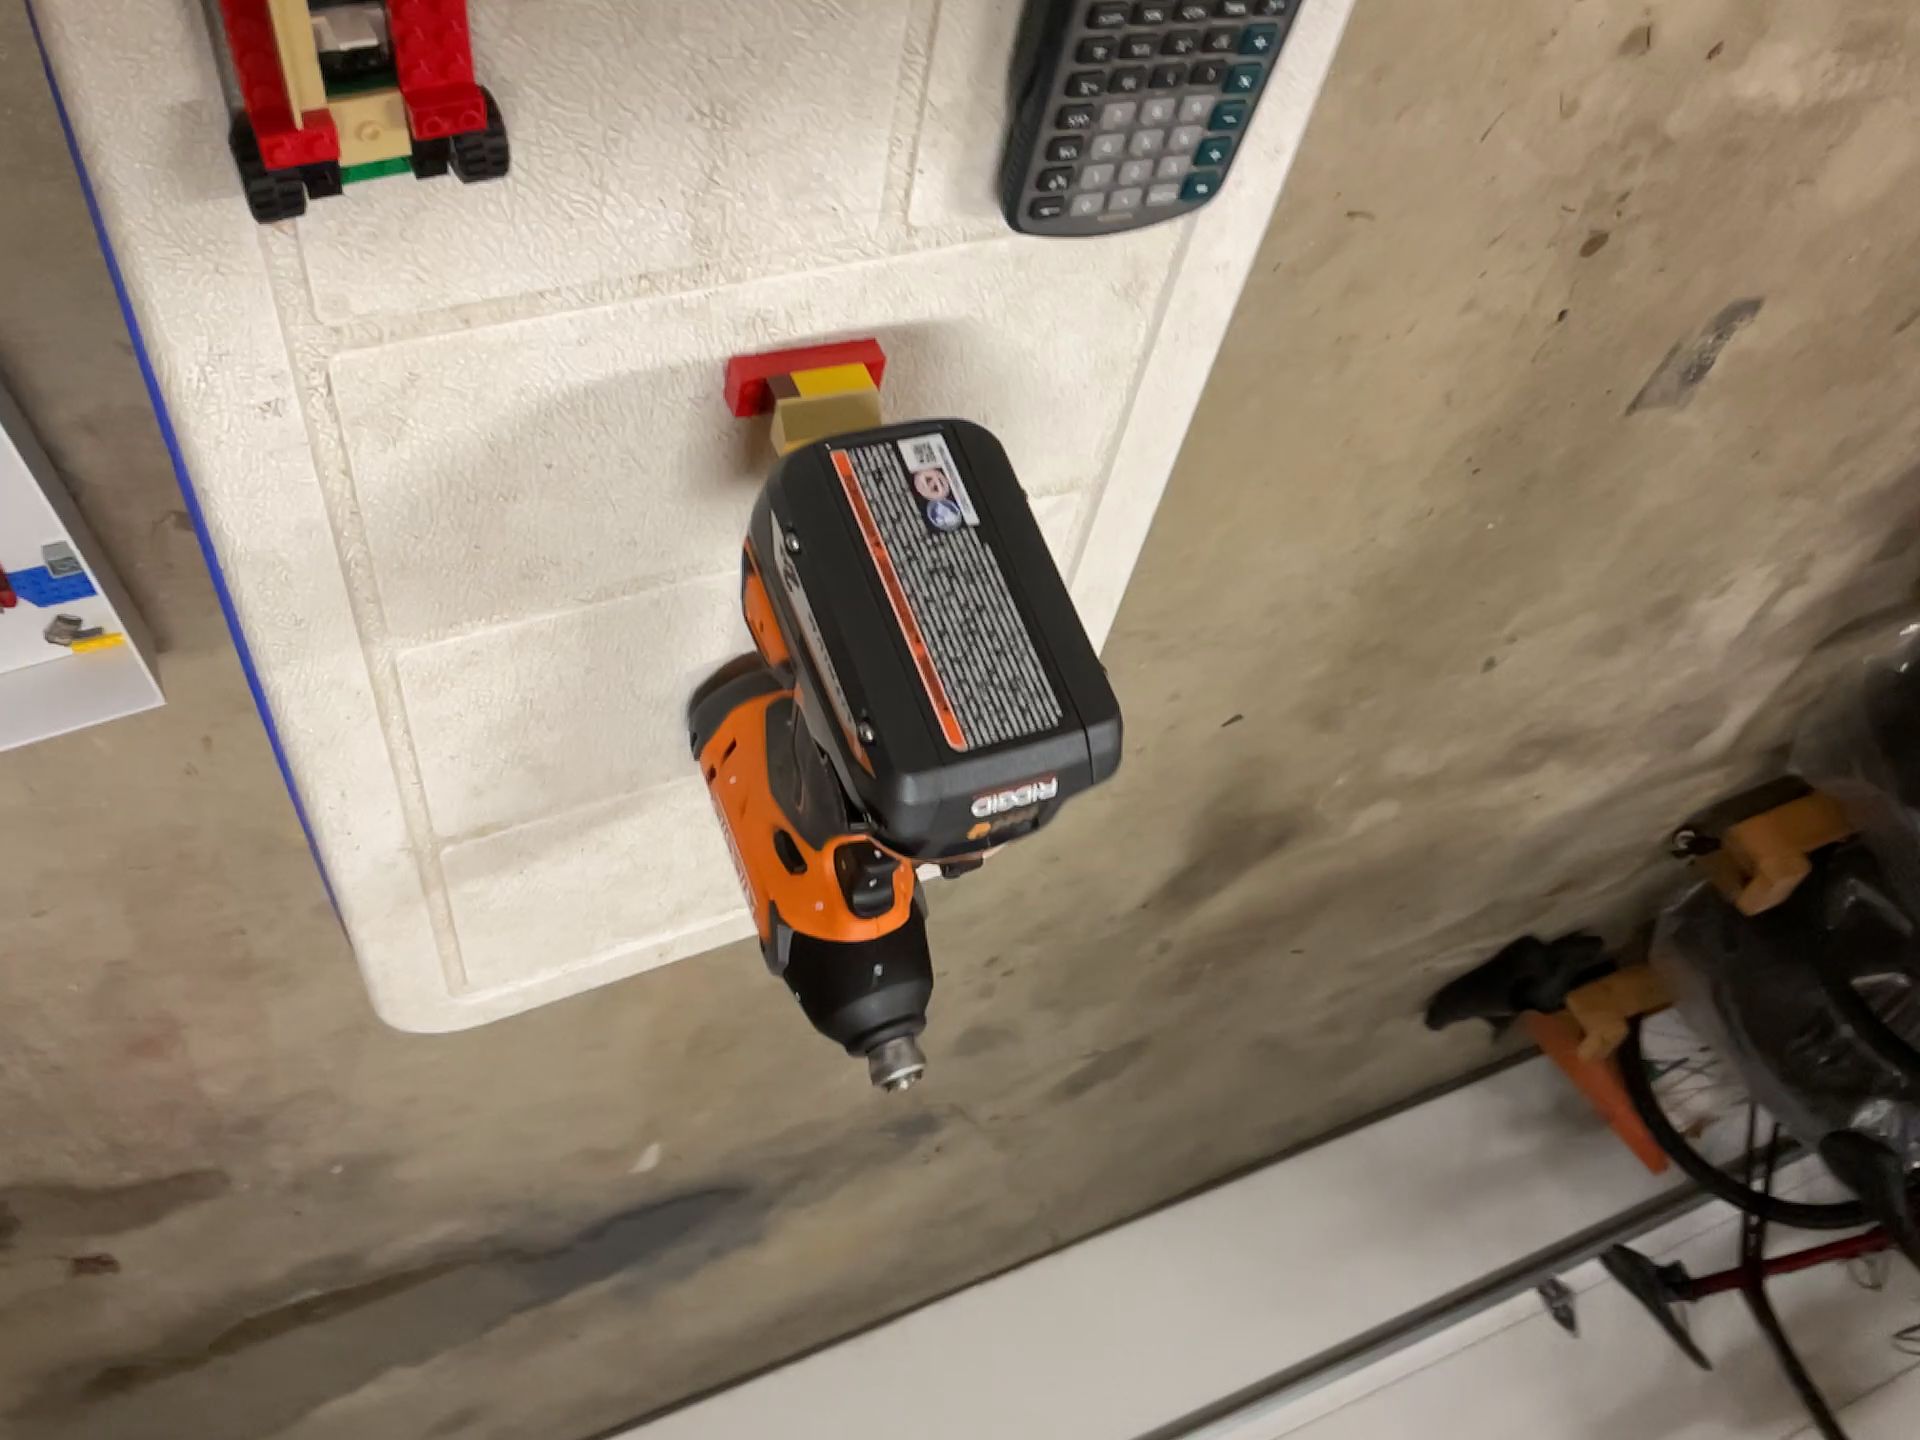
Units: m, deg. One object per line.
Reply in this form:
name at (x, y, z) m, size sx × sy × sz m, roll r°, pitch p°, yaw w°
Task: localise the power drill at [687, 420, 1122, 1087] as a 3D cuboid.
power drill at (-0.028, 0.025, 0.532) m, size 0.084 × 0.164 × 0.226 m, roll -15°, pitch 161°, yaw -23°
